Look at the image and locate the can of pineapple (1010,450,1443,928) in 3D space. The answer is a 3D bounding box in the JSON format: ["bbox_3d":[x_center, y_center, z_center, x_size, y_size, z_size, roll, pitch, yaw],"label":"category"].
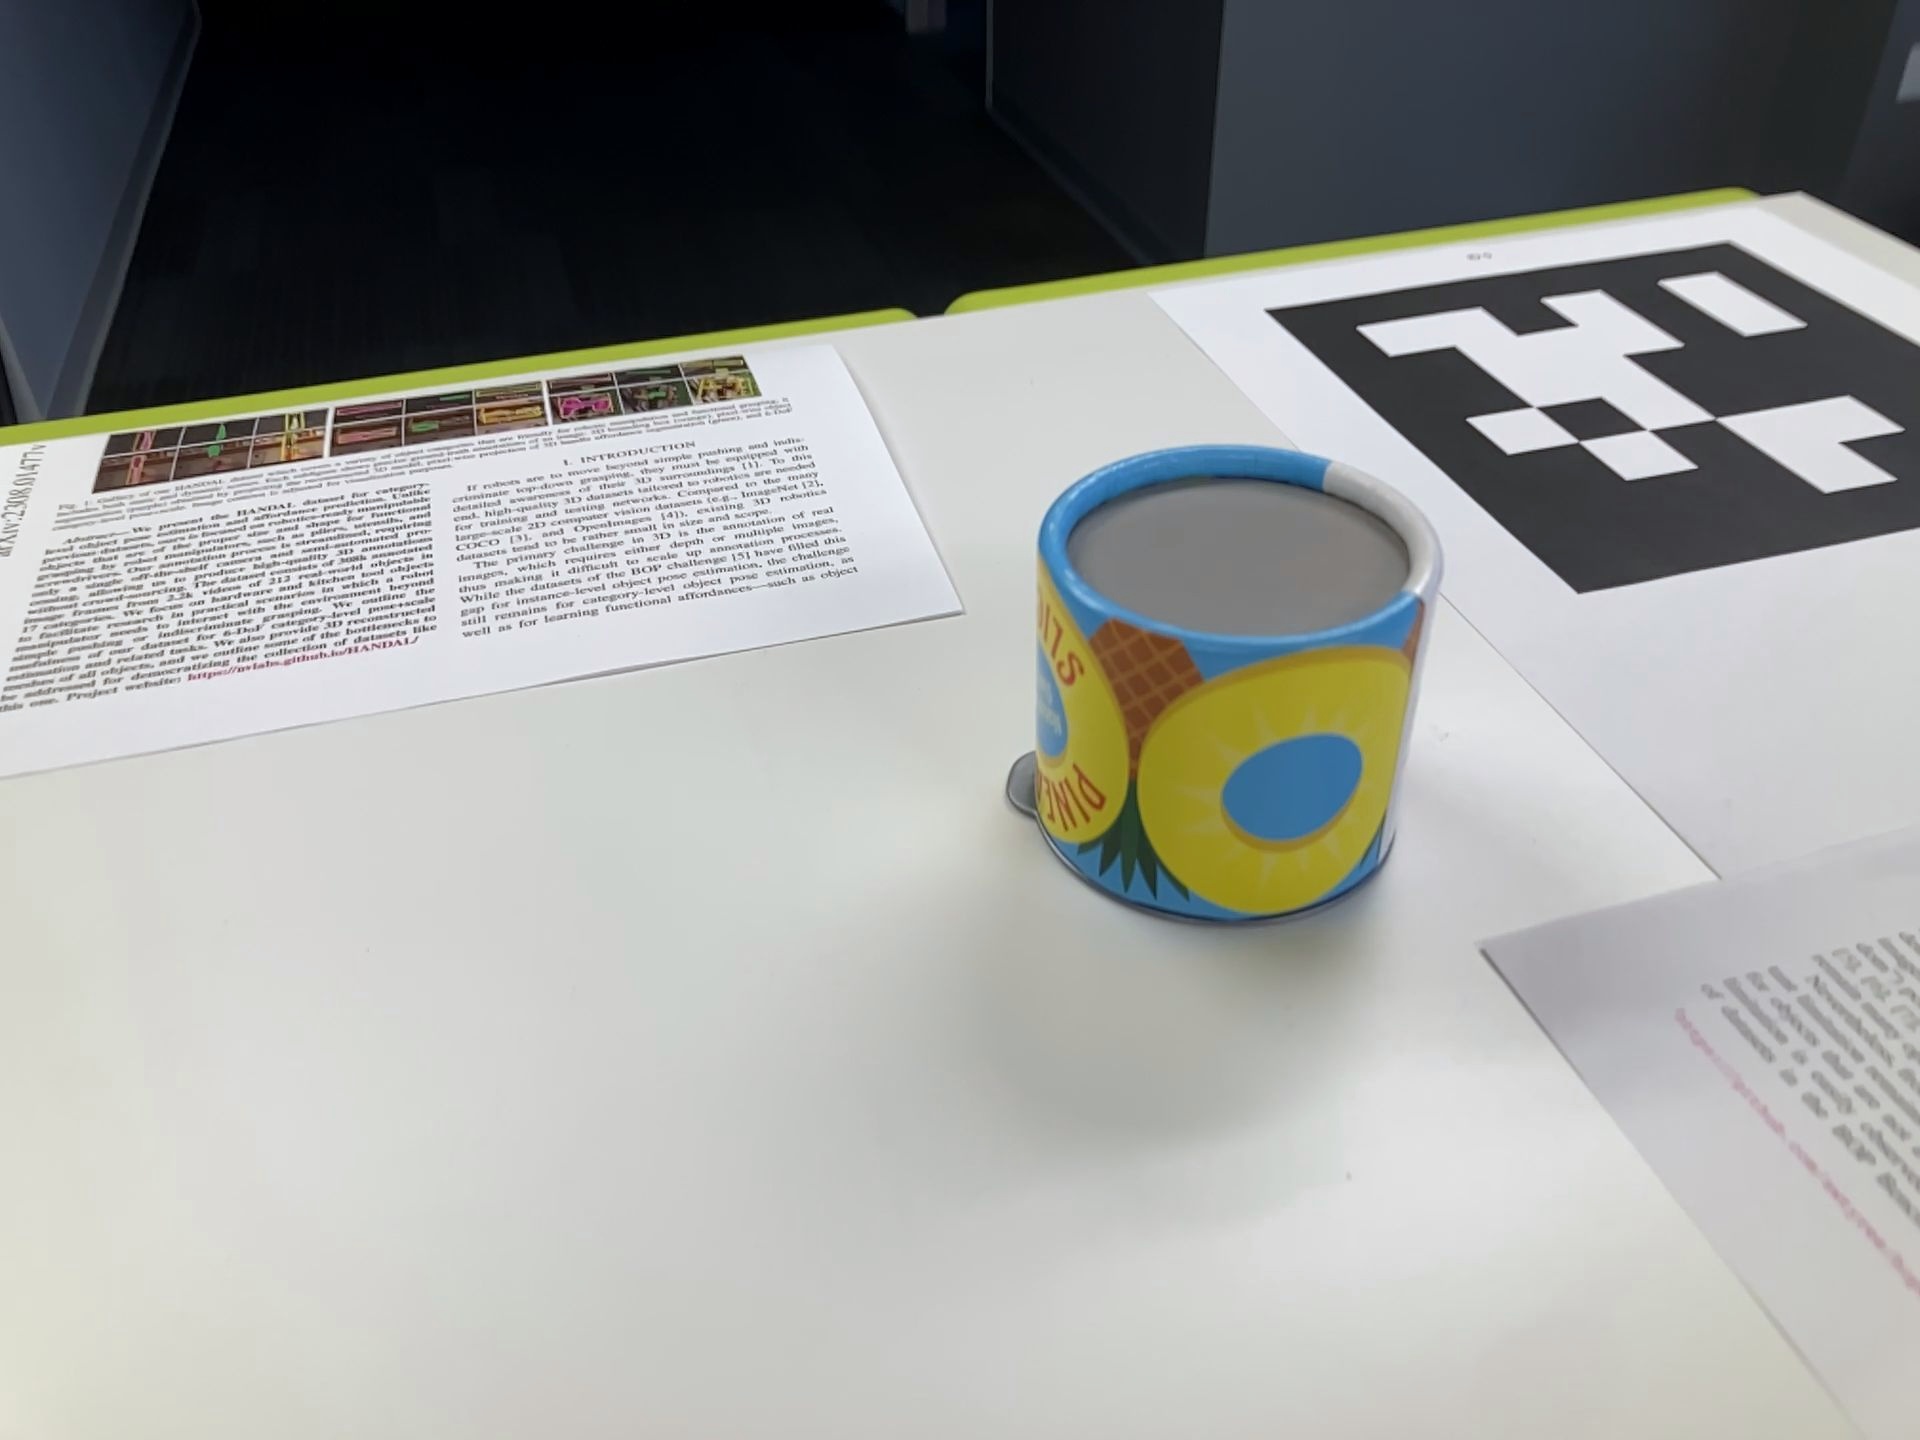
[{"bbox_3d":[0.045,-0.007,0.277,0.071,0.058,0.071,-1,37,1],"label":"can of pineapple"}]
